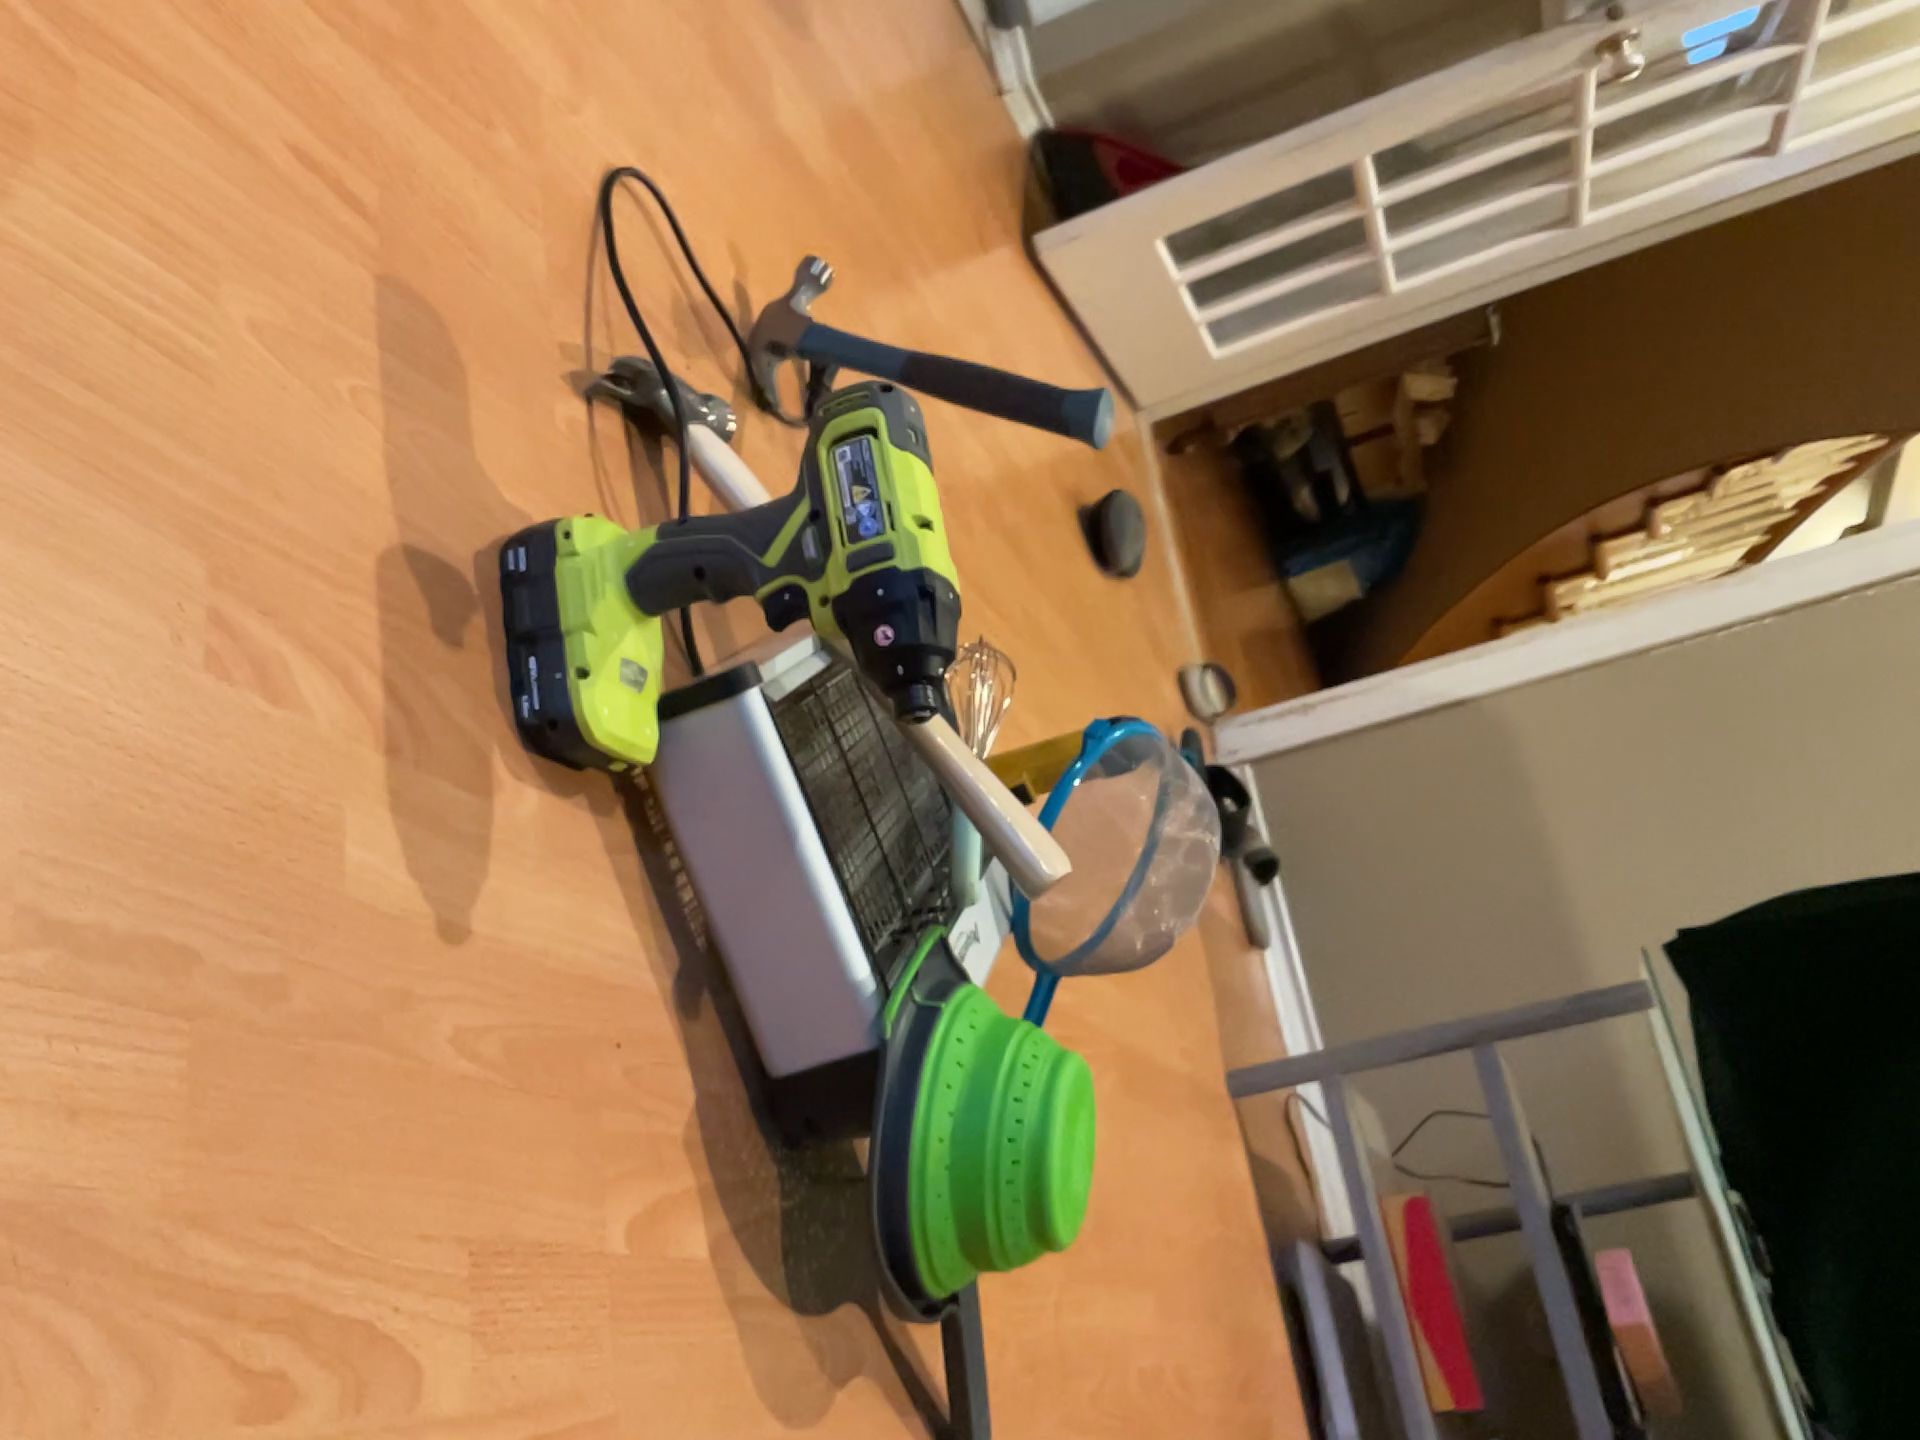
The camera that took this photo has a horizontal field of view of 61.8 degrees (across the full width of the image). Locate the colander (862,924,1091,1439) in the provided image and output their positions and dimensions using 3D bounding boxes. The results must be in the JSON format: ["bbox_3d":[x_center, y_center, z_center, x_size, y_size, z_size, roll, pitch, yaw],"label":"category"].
[{"bbox_3d":[0.028,0.316,0.952,0.205,0.094,0.396,-55,143,-62],"label":"colander"}]

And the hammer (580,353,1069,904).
[{"bbox_3d":[-0.076,-0.058,0.973,0.410,0.038,0.146,51,12,12],"label":"hammer"}]

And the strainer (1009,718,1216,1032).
[{"bbox_3d":[0.113,0.173,1.222,0.211,0.095,0.340,17,93,-59],"label":"strainer"}]

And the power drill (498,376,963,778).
[{"bbox_3d":[-0.111,-0.057,0.798,0.080,0.223,0.171,36,40,-64],"label":"power drill"}]

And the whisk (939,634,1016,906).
[{"bbox_3d":[0.008,0.030,1.136,0.057,0.059,0.246,99,-4,-46],"label":"whisk"}]

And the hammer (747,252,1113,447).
[{"bbox_3d":[-0.027,-0.259,1.177,0.128,0.331,0.033,-59,147,-12],"label":"hammer"}]
